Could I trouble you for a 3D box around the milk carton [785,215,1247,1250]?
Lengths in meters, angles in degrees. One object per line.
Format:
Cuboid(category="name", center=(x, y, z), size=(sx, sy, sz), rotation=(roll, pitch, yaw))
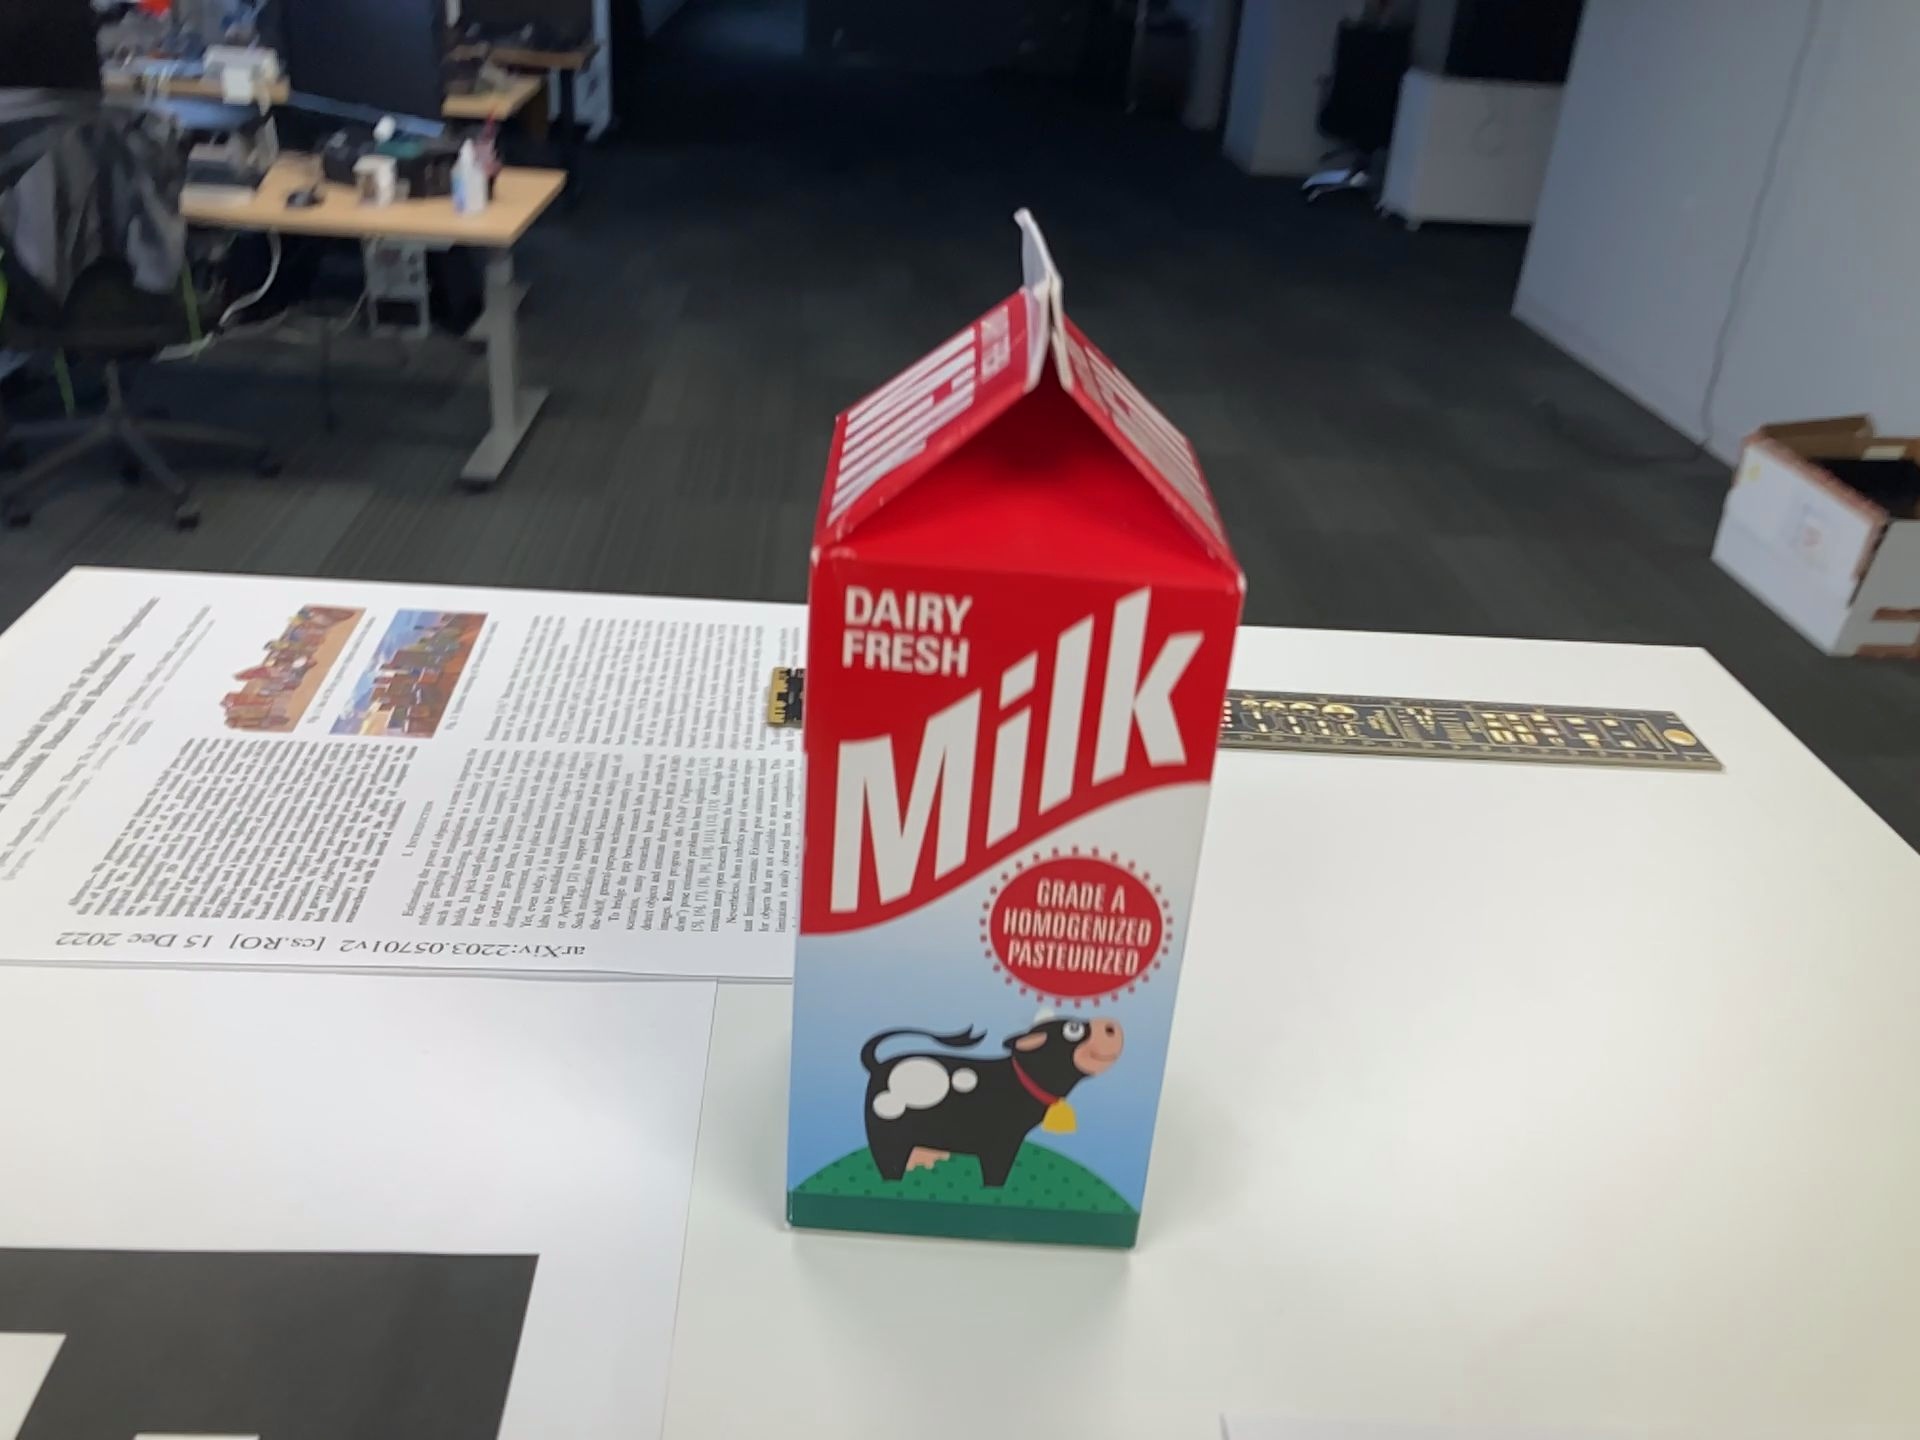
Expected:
Cuboid(category="milk carton", center=(0.007, 0.006, 0.306), size=(0.073, 0.190, 0.072), rotation=(4, 27, -2))
